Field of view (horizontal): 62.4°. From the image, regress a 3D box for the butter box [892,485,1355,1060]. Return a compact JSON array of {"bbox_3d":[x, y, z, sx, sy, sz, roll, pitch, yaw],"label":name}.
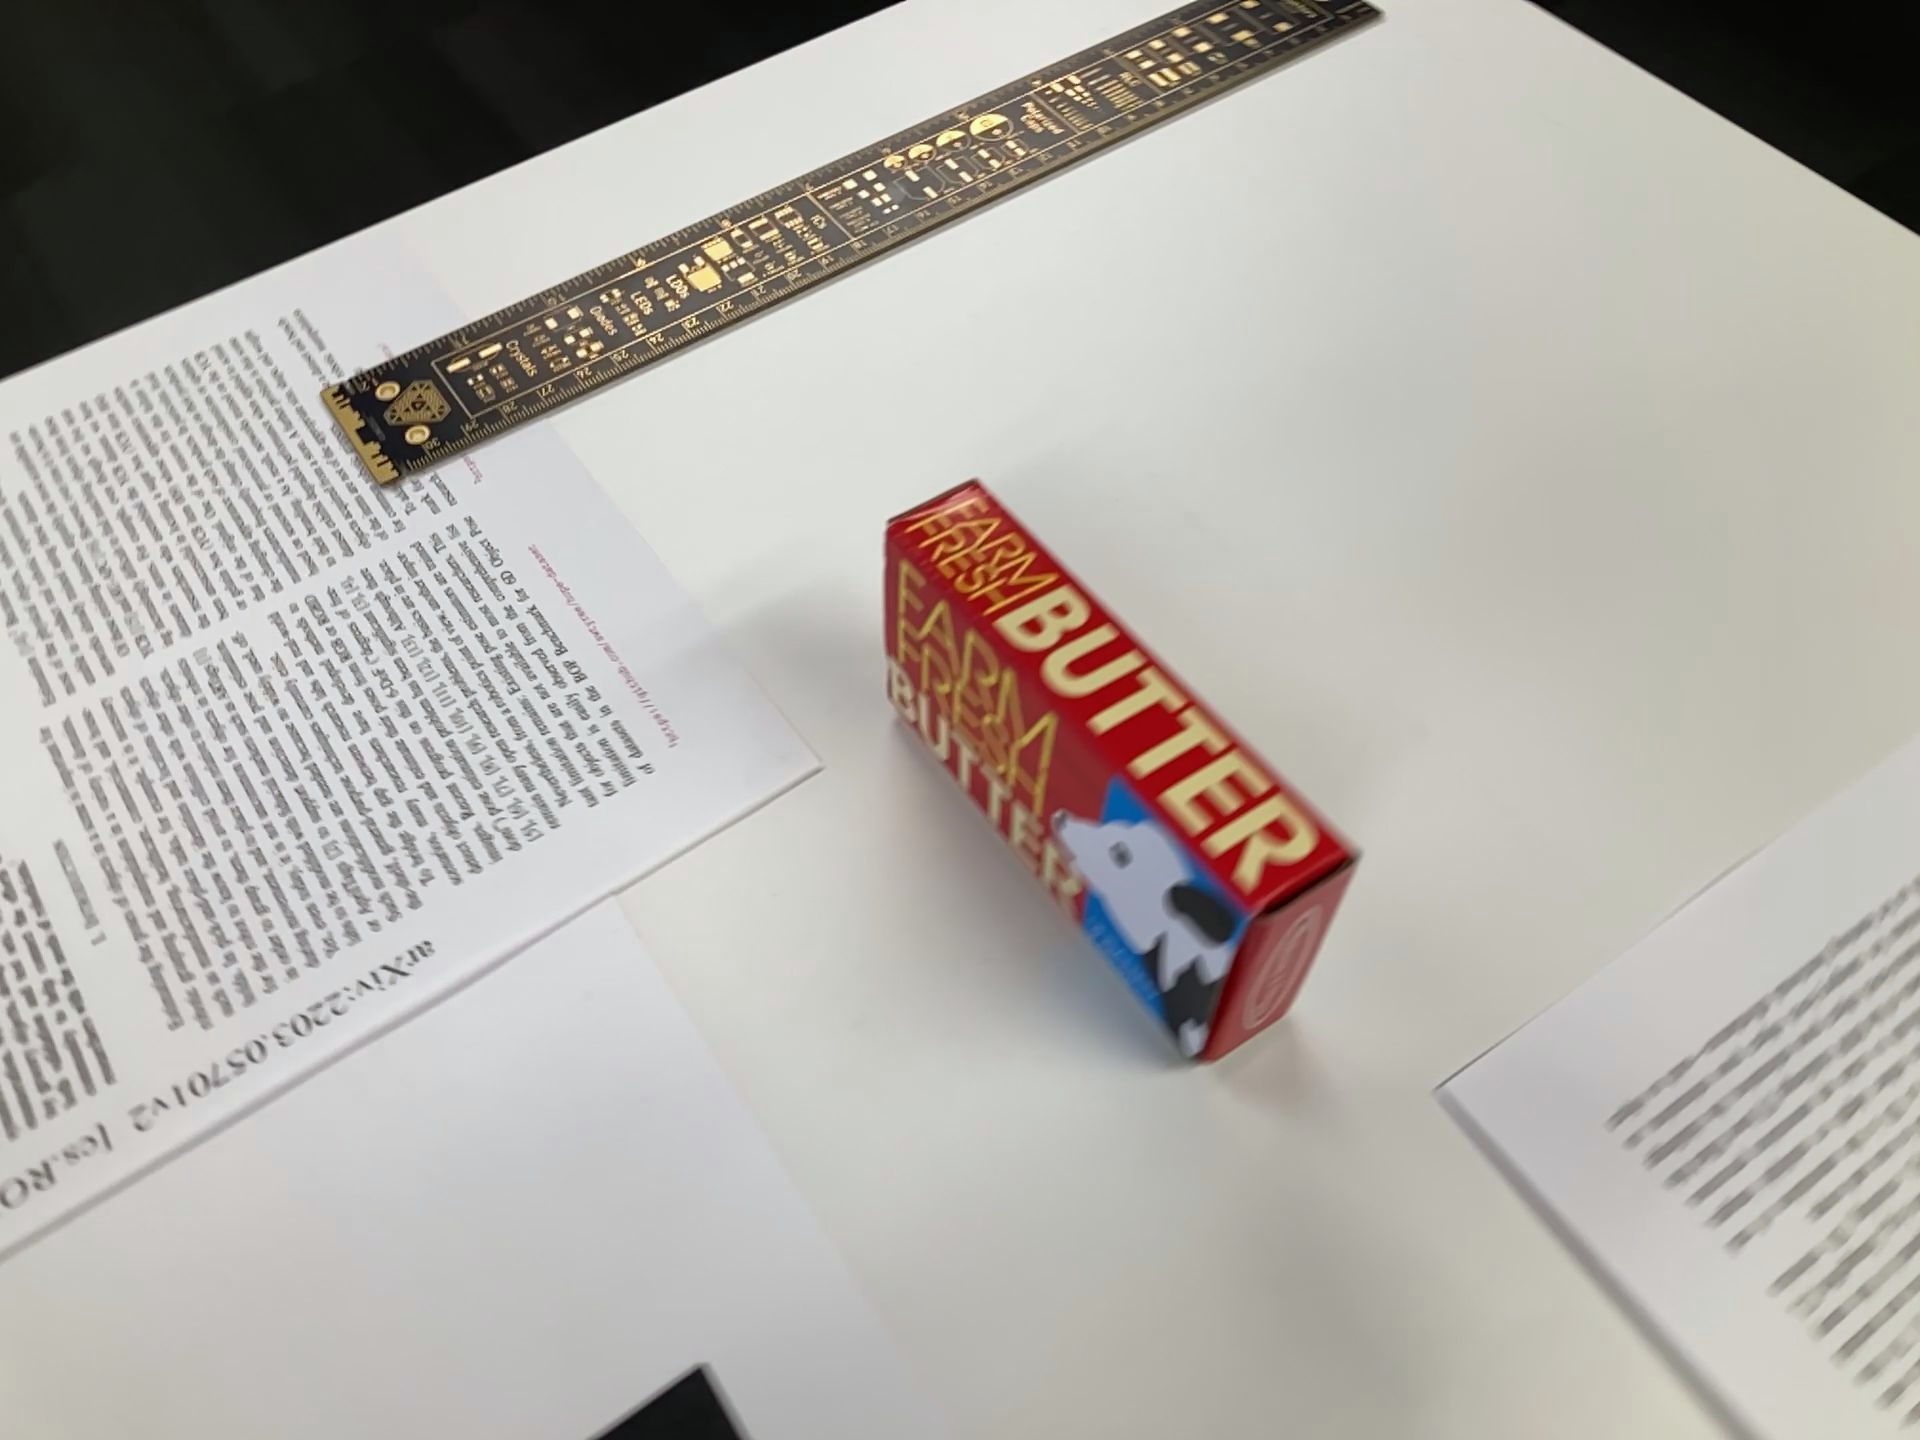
[{"bbox_3d":[0.024,0.008,0.293,0.024,0.053,0.103,-28,59,-22],"label":"butter box"}]
